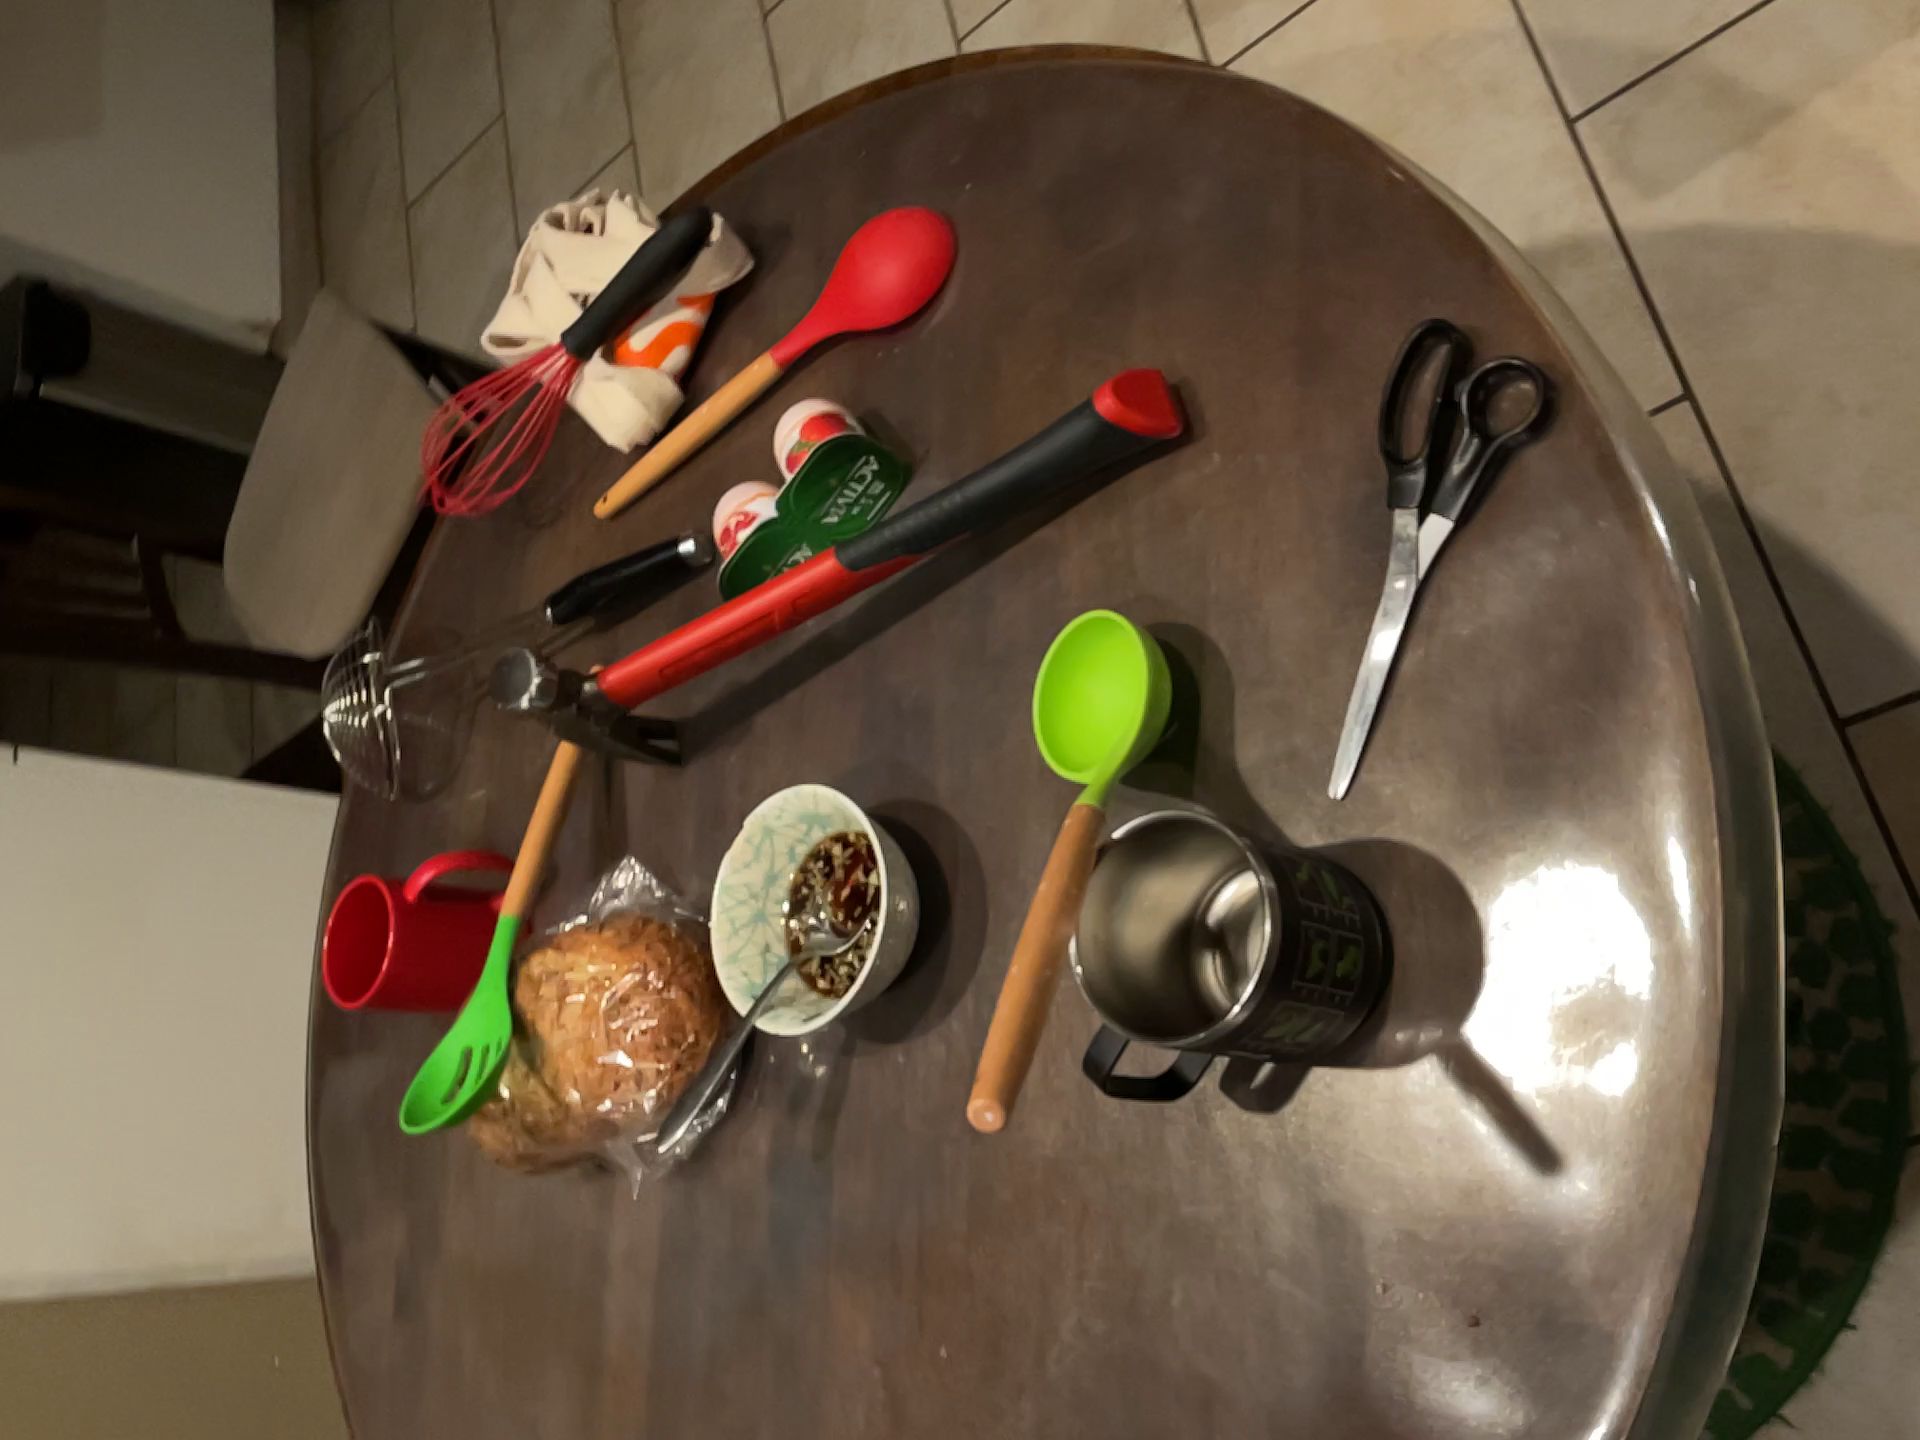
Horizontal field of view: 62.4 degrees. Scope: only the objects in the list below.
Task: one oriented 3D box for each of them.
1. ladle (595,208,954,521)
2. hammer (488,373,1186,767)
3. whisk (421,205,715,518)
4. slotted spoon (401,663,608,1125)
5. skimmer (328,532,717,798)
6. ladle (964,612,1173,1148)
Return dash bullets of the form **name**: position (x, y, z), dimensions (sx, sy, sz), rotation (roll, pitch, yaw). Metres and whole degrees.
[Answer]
- **ladle**: position (-0.125, -0.205, 0.957), dimensions (0.315, 0.031, 0.069), rotation (-32, 60, 34)
- **hammer**: position (-0.055, -0.071, 0.830), dimensions (0.386, 0.143, 0.038), rotation (-24, 65, 22)
- **whisk**: position (-0.255, -0.225, 1.008), dimensions (0.296, 0.073, 0.073), rotation (-36, 57, 28)
- **slotted spoon**: position (-0.250, 0.092, 0.921), dimensions (0.070, 0.031, 0.314), rotation (-17, 46, 33)
- **skimmer**: position (-0.294, -0.048, 1.062), dimensions (0.363, 0.090, 0.127), rotation (-19, 75, 25)
- **ladle**: position (0.034, 0.046, 0.606), dimensions (0.062, 0.320, 0.078), rotation (33, 120, -2)
